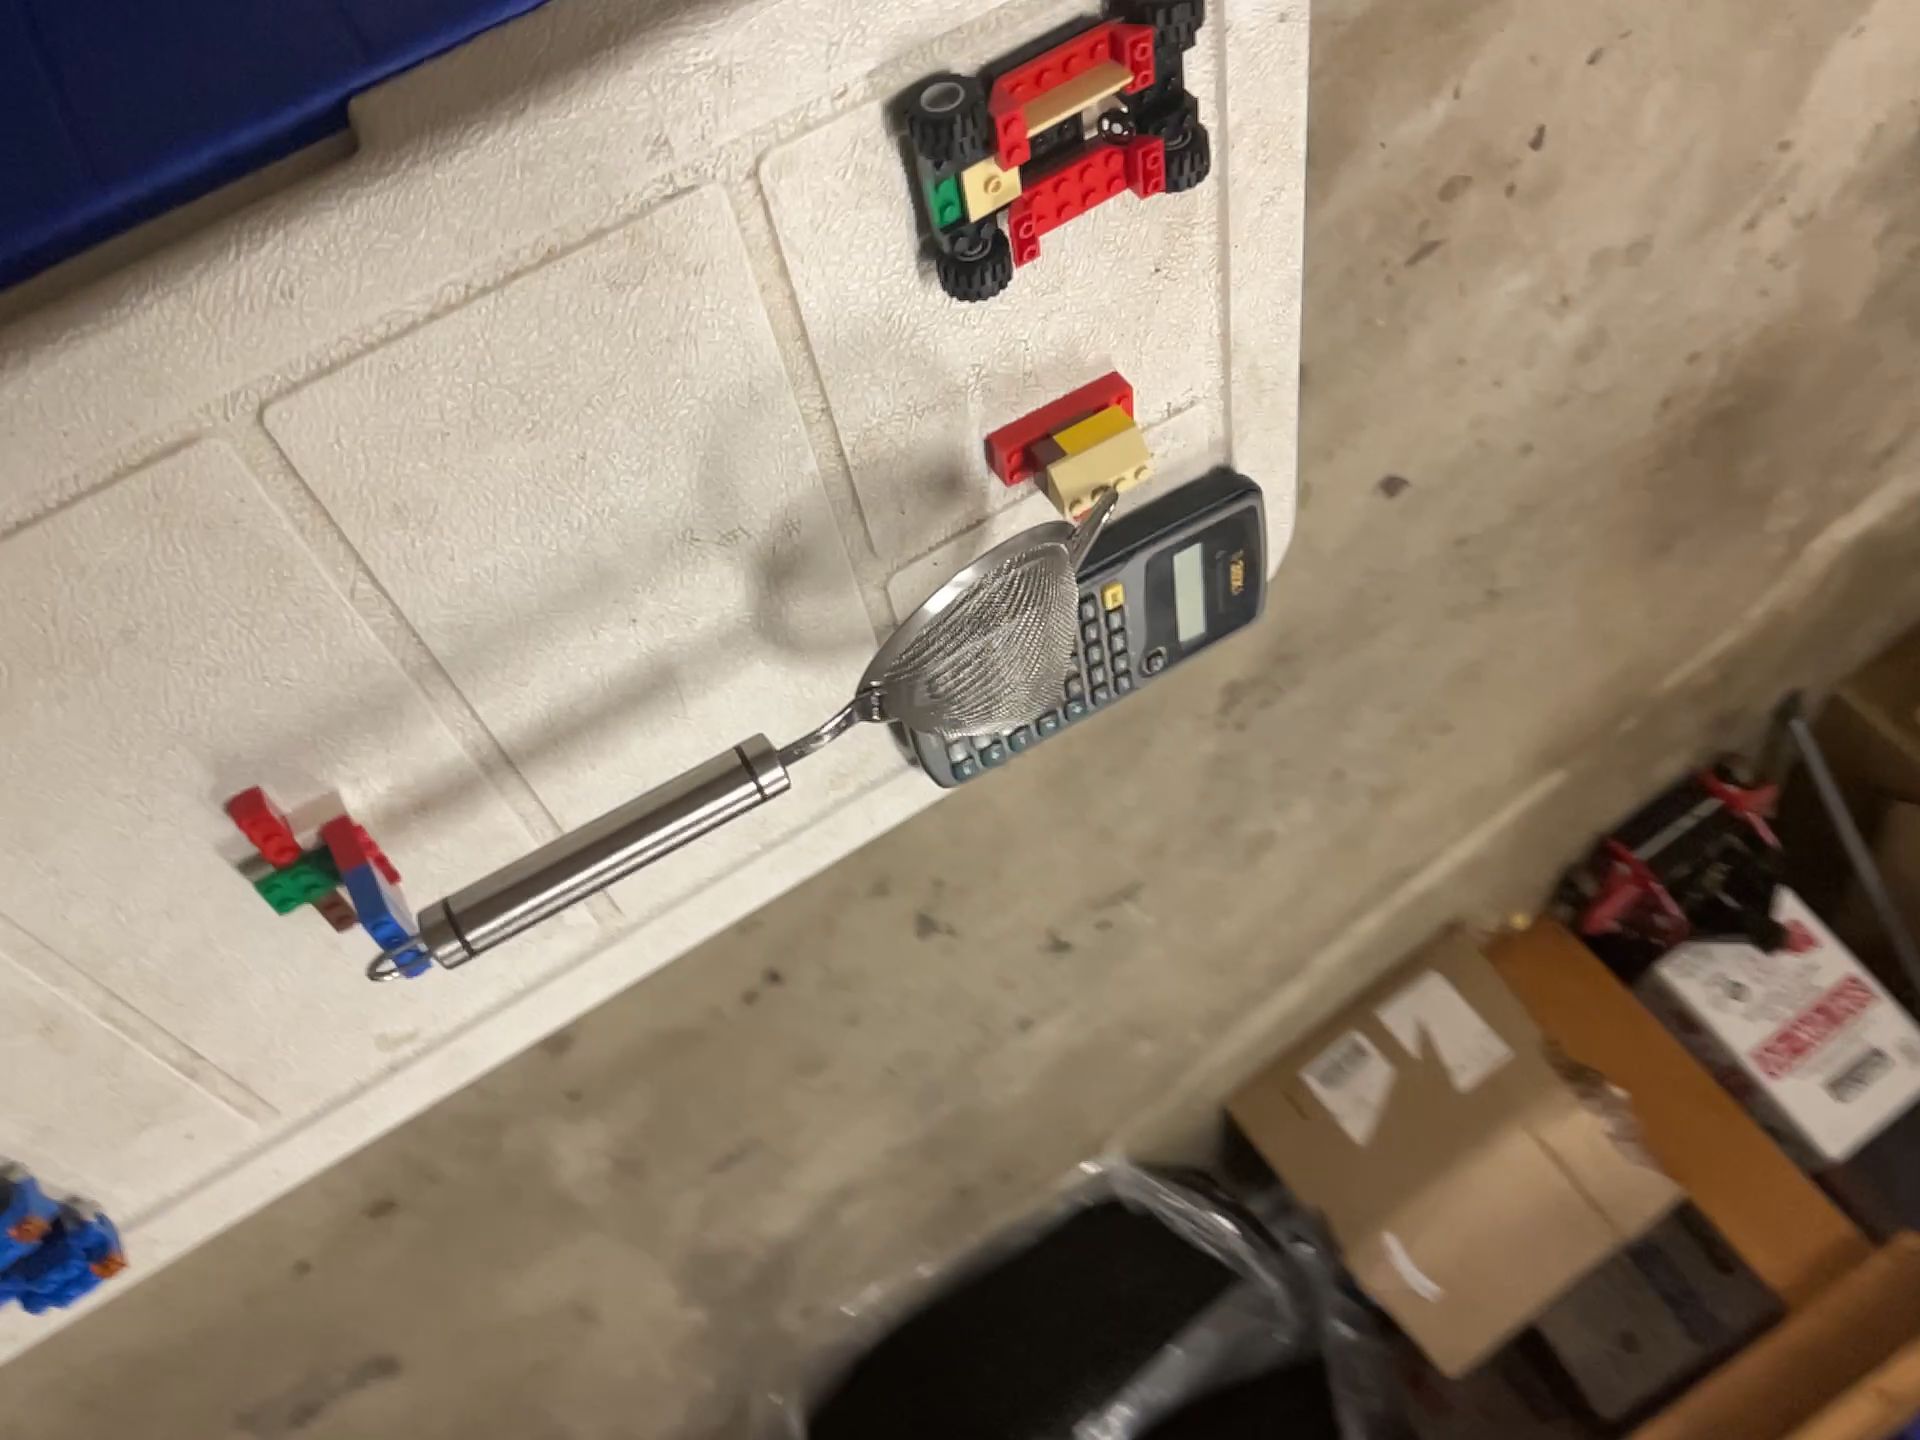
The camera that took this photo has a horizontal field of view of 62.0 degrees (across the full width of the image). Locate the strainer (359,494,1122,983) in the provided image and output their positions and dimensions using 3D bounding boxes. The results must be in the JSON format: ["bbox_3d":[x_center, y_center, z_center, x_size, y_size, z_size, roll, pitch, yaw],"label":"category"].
[{"bbox_3d":[-0.051,0.012,0.461,0.258,0.050,0.086,-28,162,-10],"label":"strainer"}]
